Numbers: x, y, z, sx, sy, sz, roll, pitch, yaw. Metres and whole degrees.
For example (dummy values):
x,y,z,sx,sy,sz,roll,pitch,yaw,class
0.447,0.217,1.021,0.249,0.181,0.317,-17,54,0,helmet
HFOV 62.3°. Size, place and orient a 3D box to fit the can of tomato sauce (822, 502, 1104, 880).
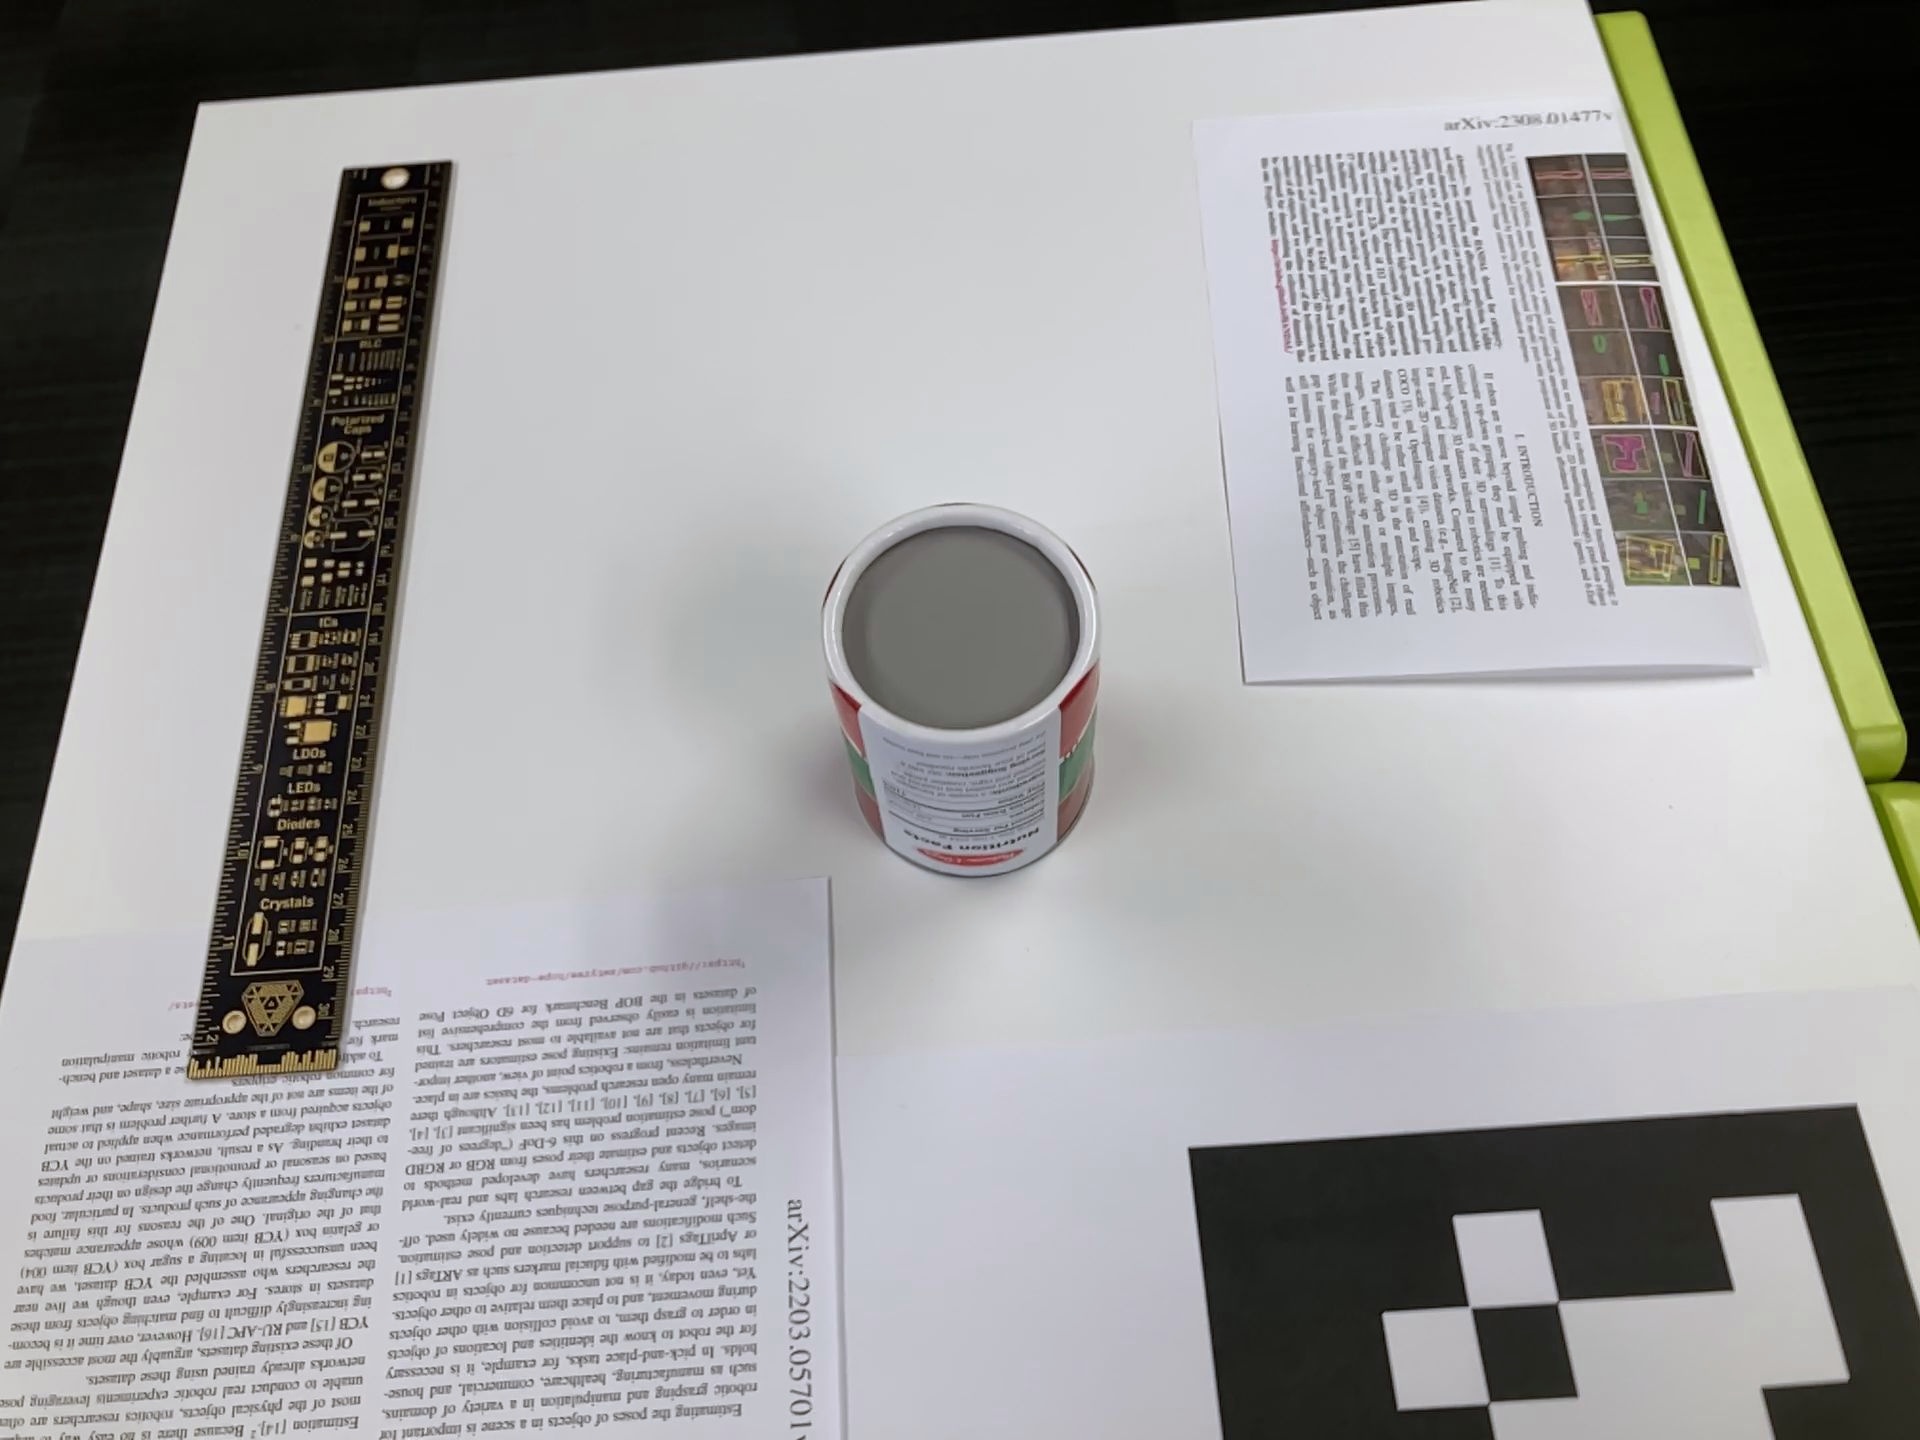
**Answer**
x,y,z,sx,sy,sz,roll,pitch,yaw,class
0.003,-0.007,0.405,0.071,0.083,0.071,-2,62,4,can of tomato sauce
